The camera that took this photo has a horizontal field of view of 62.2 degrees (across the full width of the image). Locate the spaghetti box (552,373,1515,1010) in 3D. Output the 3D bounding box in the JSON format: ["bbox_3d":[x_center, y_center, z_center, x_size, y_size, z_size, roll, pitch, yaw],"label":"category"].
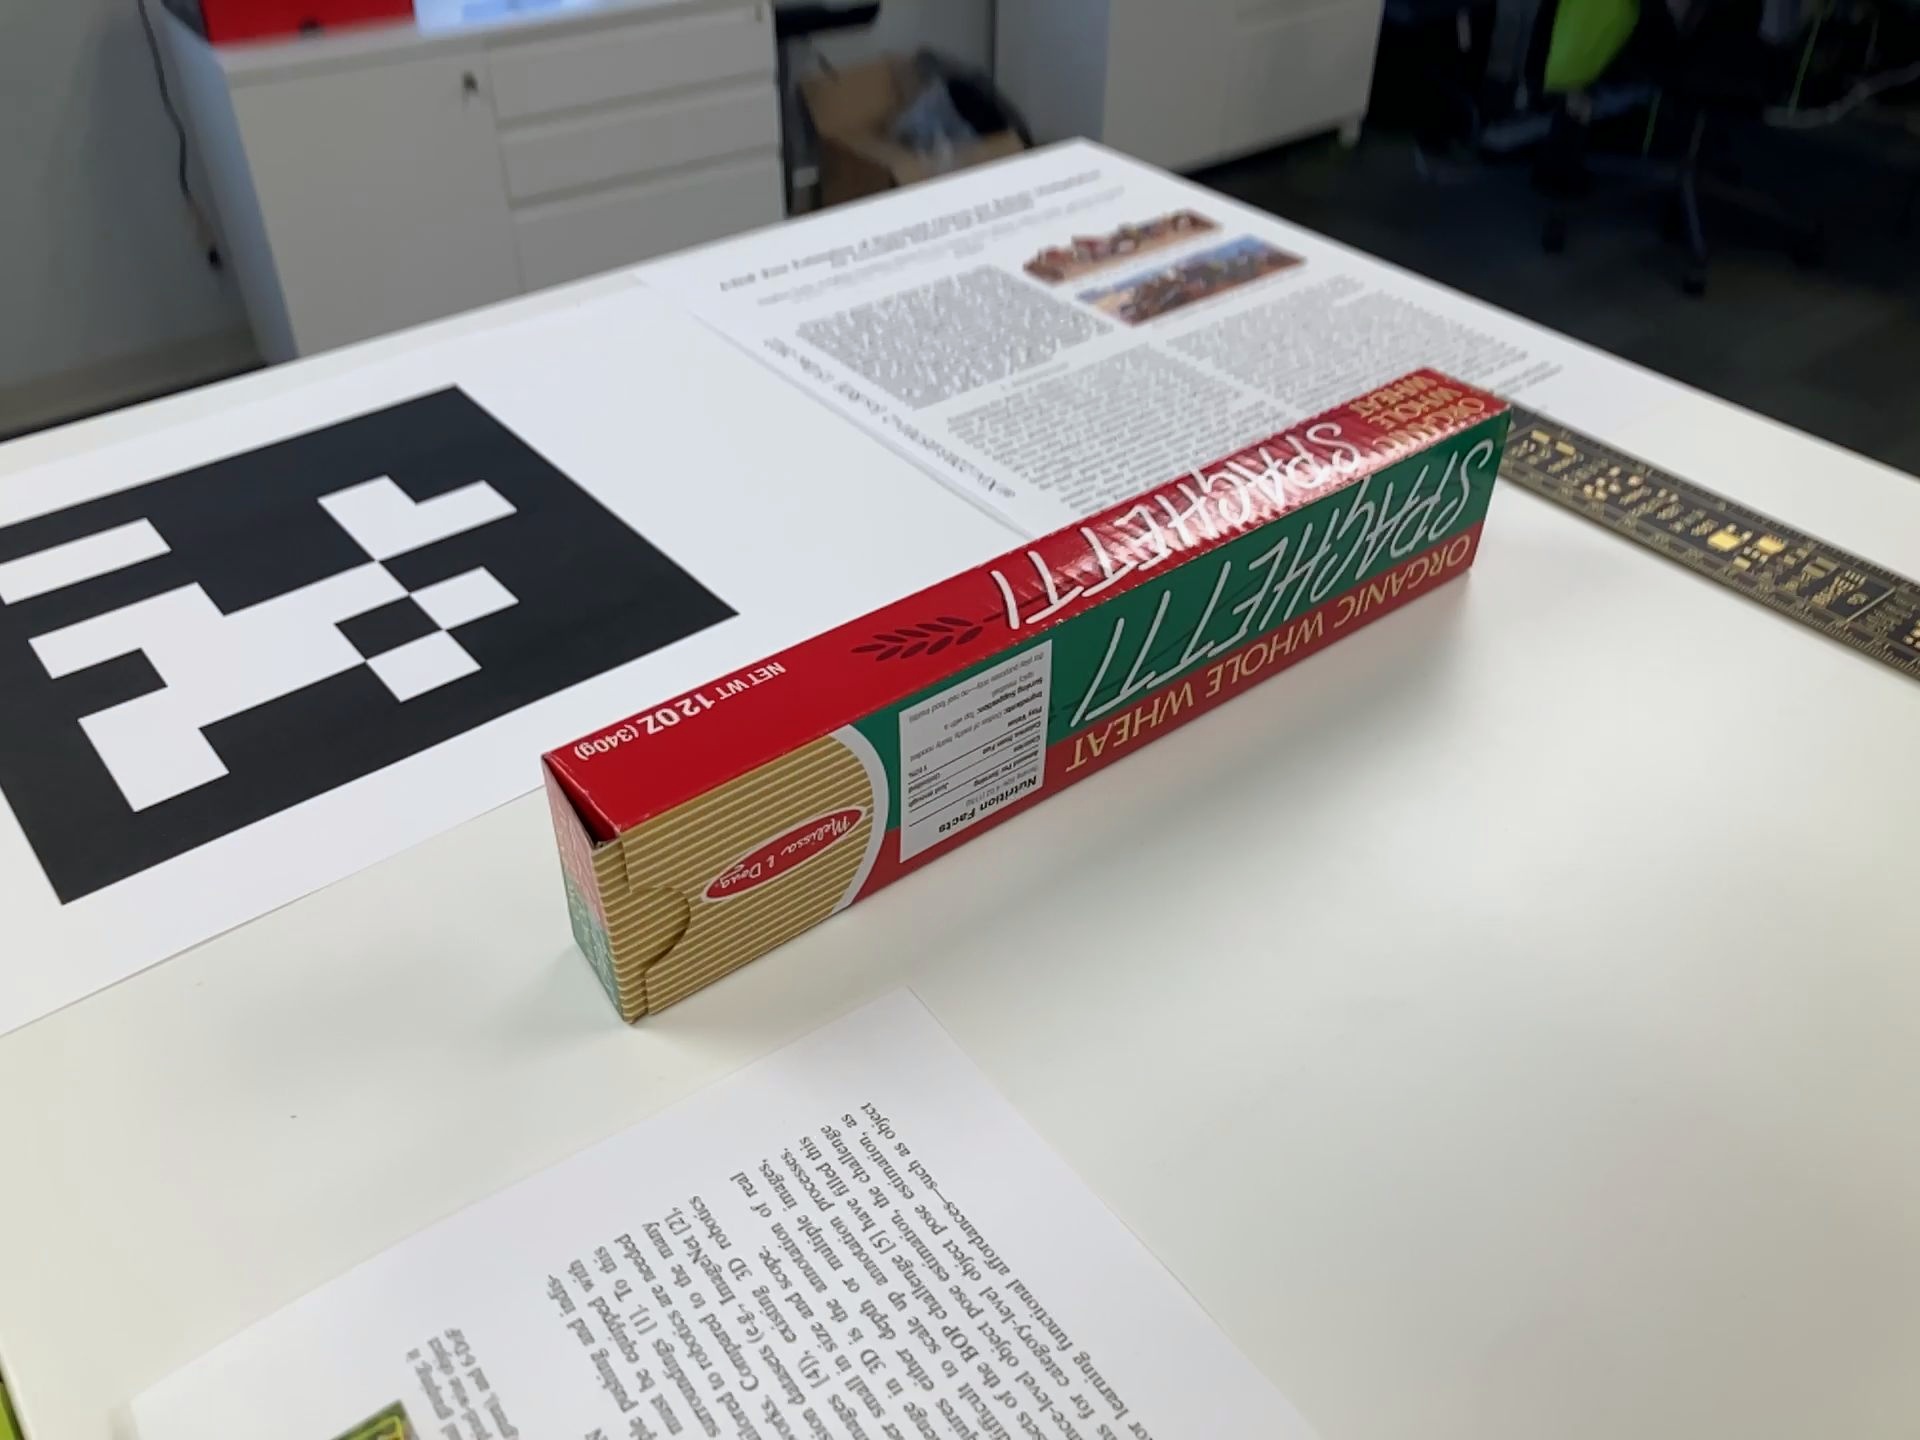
[{"bbox_3d":[0.031,-0.017,0.351,0.250,0.050,0.028,-26,48,-29],"label":"spaghetti box"}]
